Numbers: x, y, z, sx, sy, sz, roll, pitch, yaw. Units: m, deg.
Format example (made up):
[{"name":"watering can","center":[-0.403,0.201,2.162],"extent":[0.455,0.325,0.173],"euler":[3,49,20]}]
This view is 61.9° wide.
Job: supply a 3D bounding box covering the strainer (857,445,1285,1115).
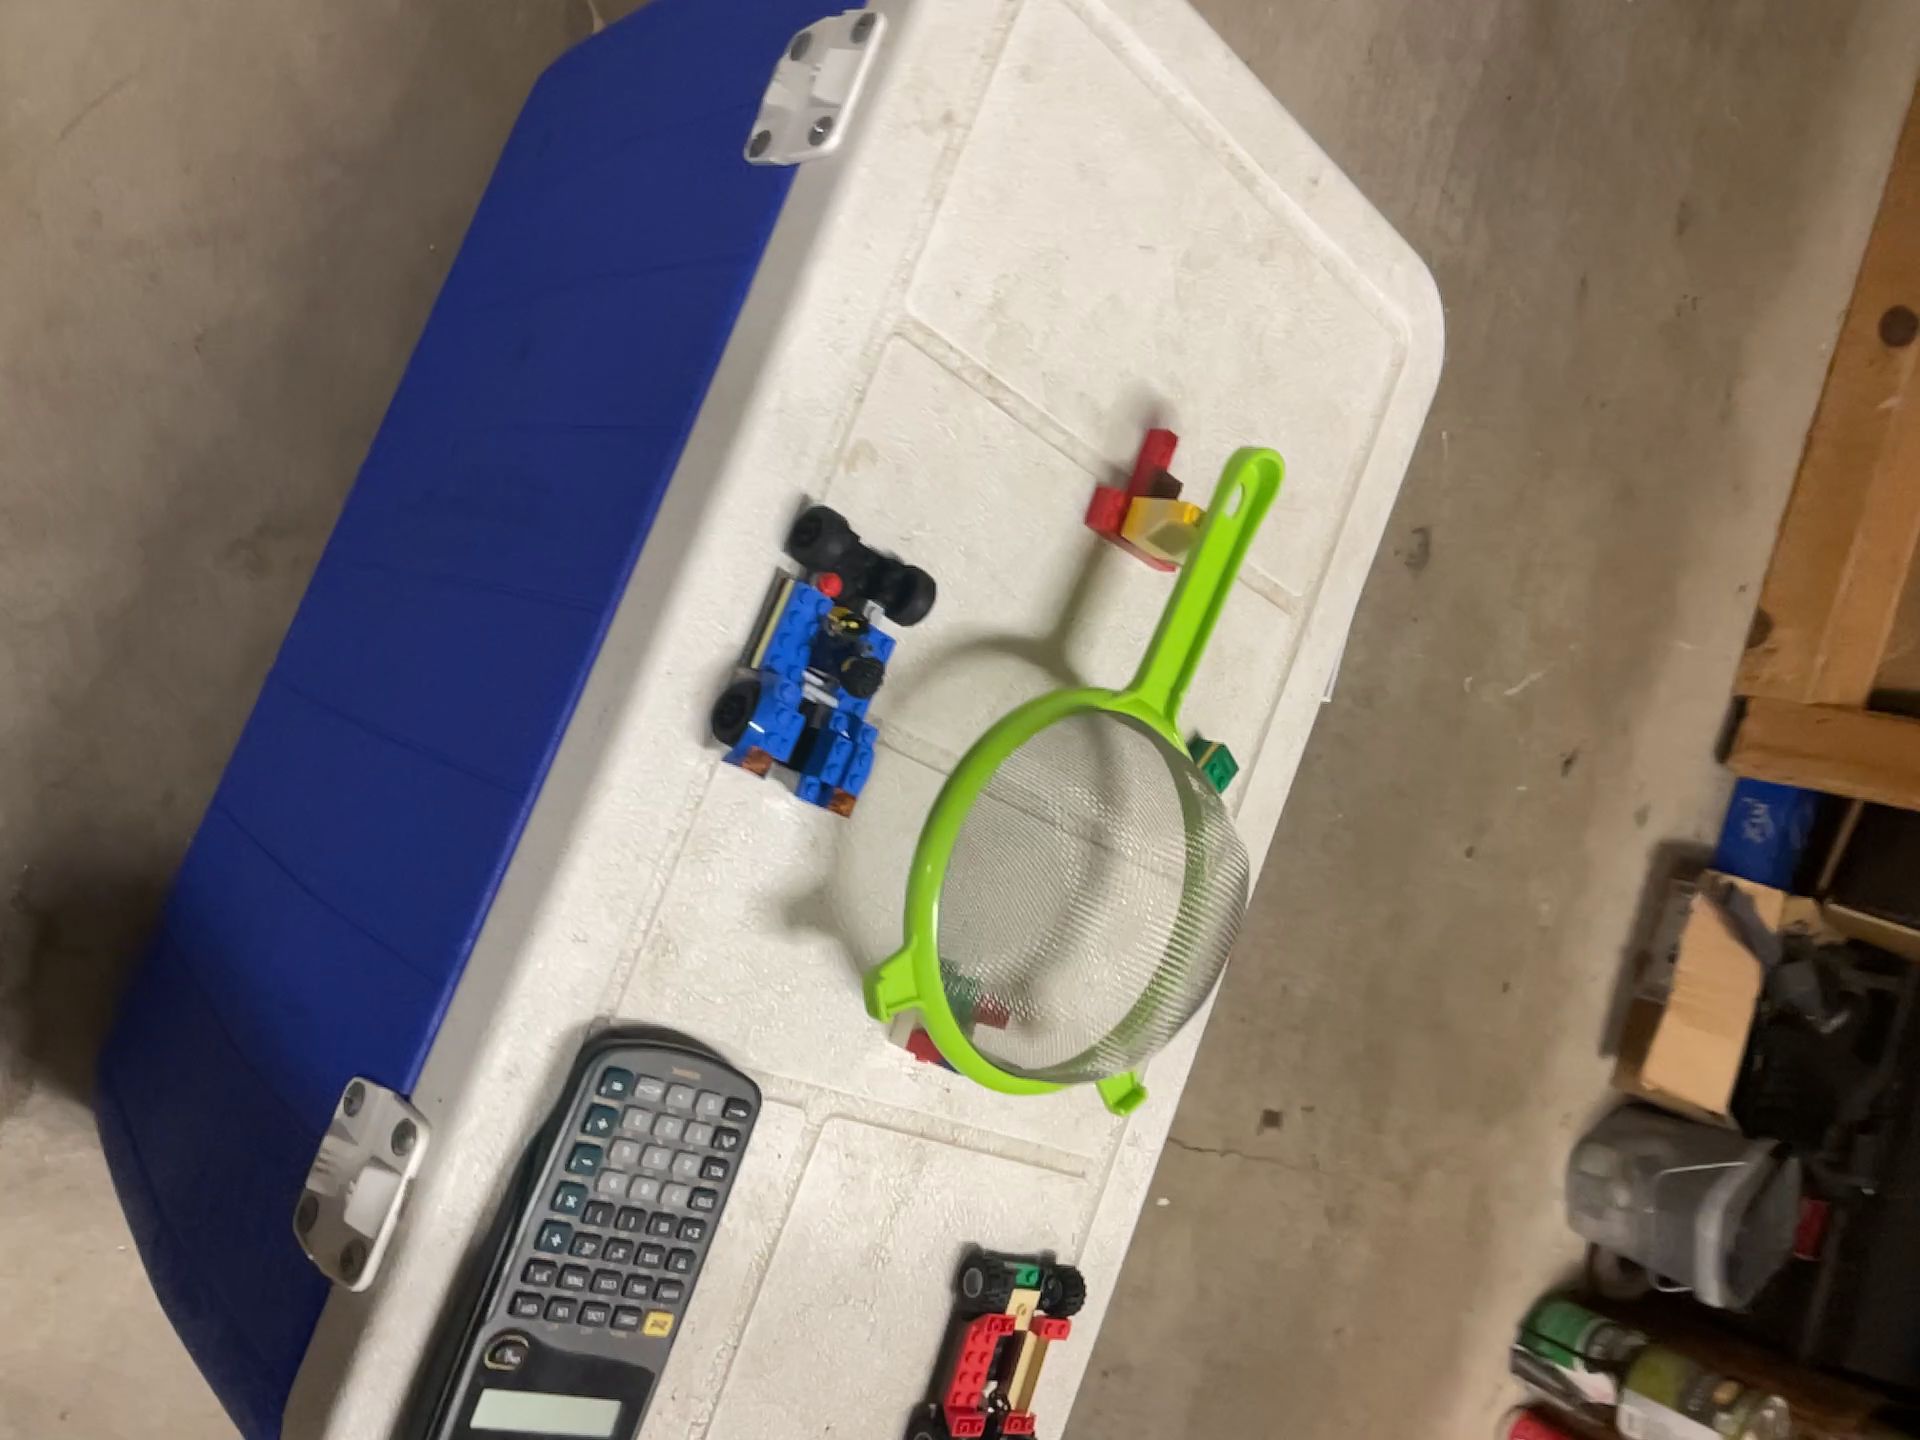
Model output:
[{"name":"strainer","center":[0.078,0.018,0.568],"extent":[0.151,0.069,0.256],"euler":[31,80,-39]}]
